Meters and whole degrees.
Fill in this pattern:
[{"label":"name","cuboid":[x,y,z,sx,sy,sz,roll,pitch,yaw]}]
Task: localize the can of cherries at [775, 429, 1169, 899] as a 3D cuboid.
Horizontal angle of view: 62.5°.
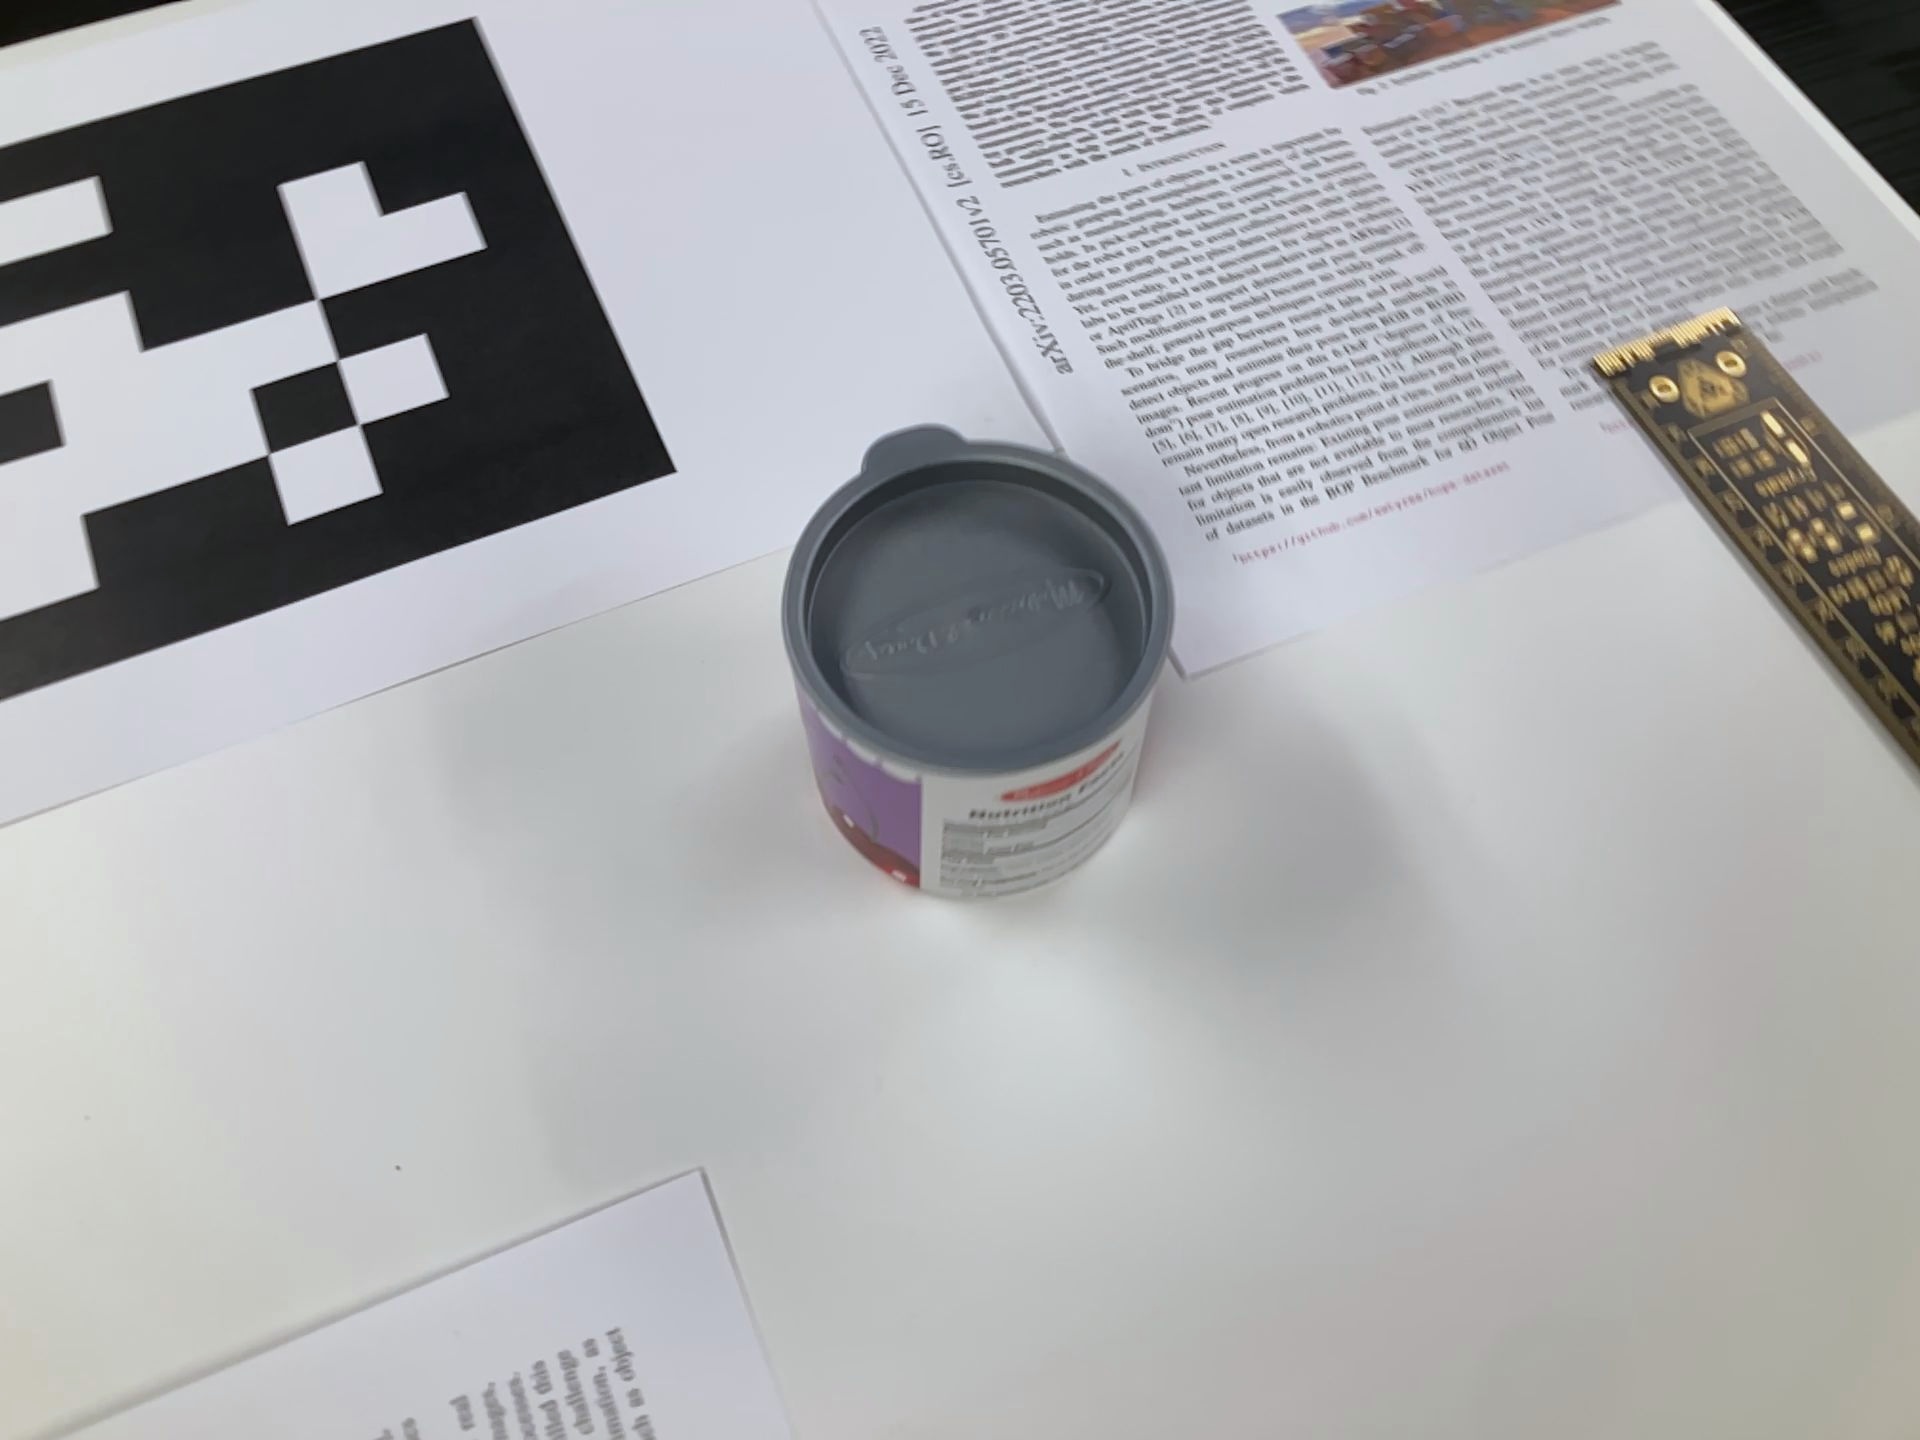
[{"label":"can of cherries","cuboid":[0.001,-0.010,0.292,0.071,0.058,0.071,0,62,0]}]
